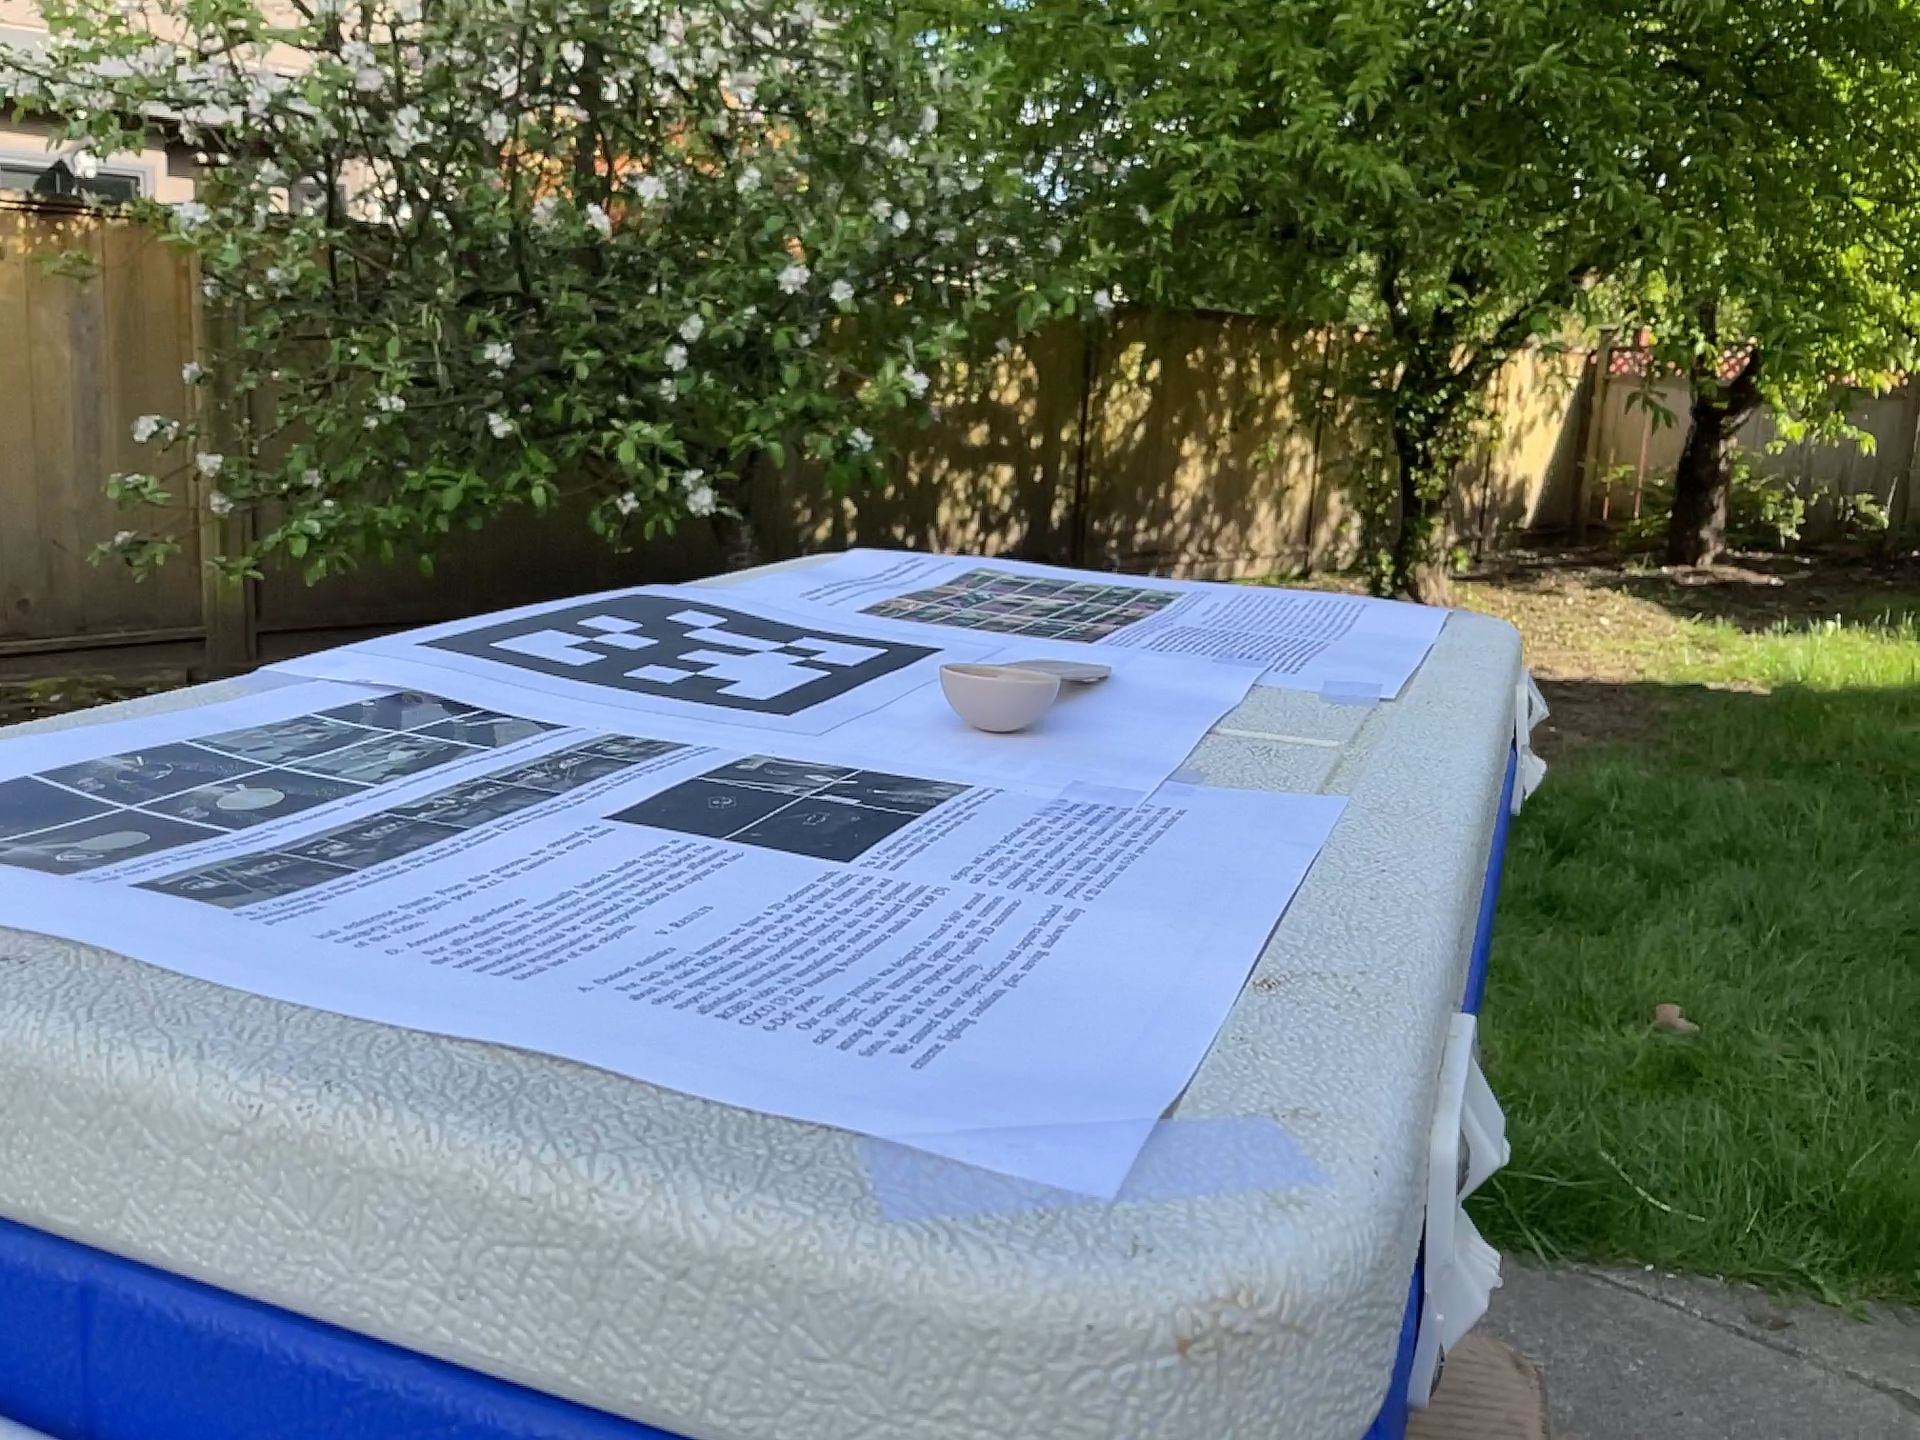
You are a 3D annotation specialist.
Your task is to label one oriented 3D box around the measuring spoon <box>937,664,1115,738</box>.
[{"bbox_3d":[0.025,-0.007,0.481,0.034,0.018,0.124,6,6,19],"label":"measuring spoon"}]
